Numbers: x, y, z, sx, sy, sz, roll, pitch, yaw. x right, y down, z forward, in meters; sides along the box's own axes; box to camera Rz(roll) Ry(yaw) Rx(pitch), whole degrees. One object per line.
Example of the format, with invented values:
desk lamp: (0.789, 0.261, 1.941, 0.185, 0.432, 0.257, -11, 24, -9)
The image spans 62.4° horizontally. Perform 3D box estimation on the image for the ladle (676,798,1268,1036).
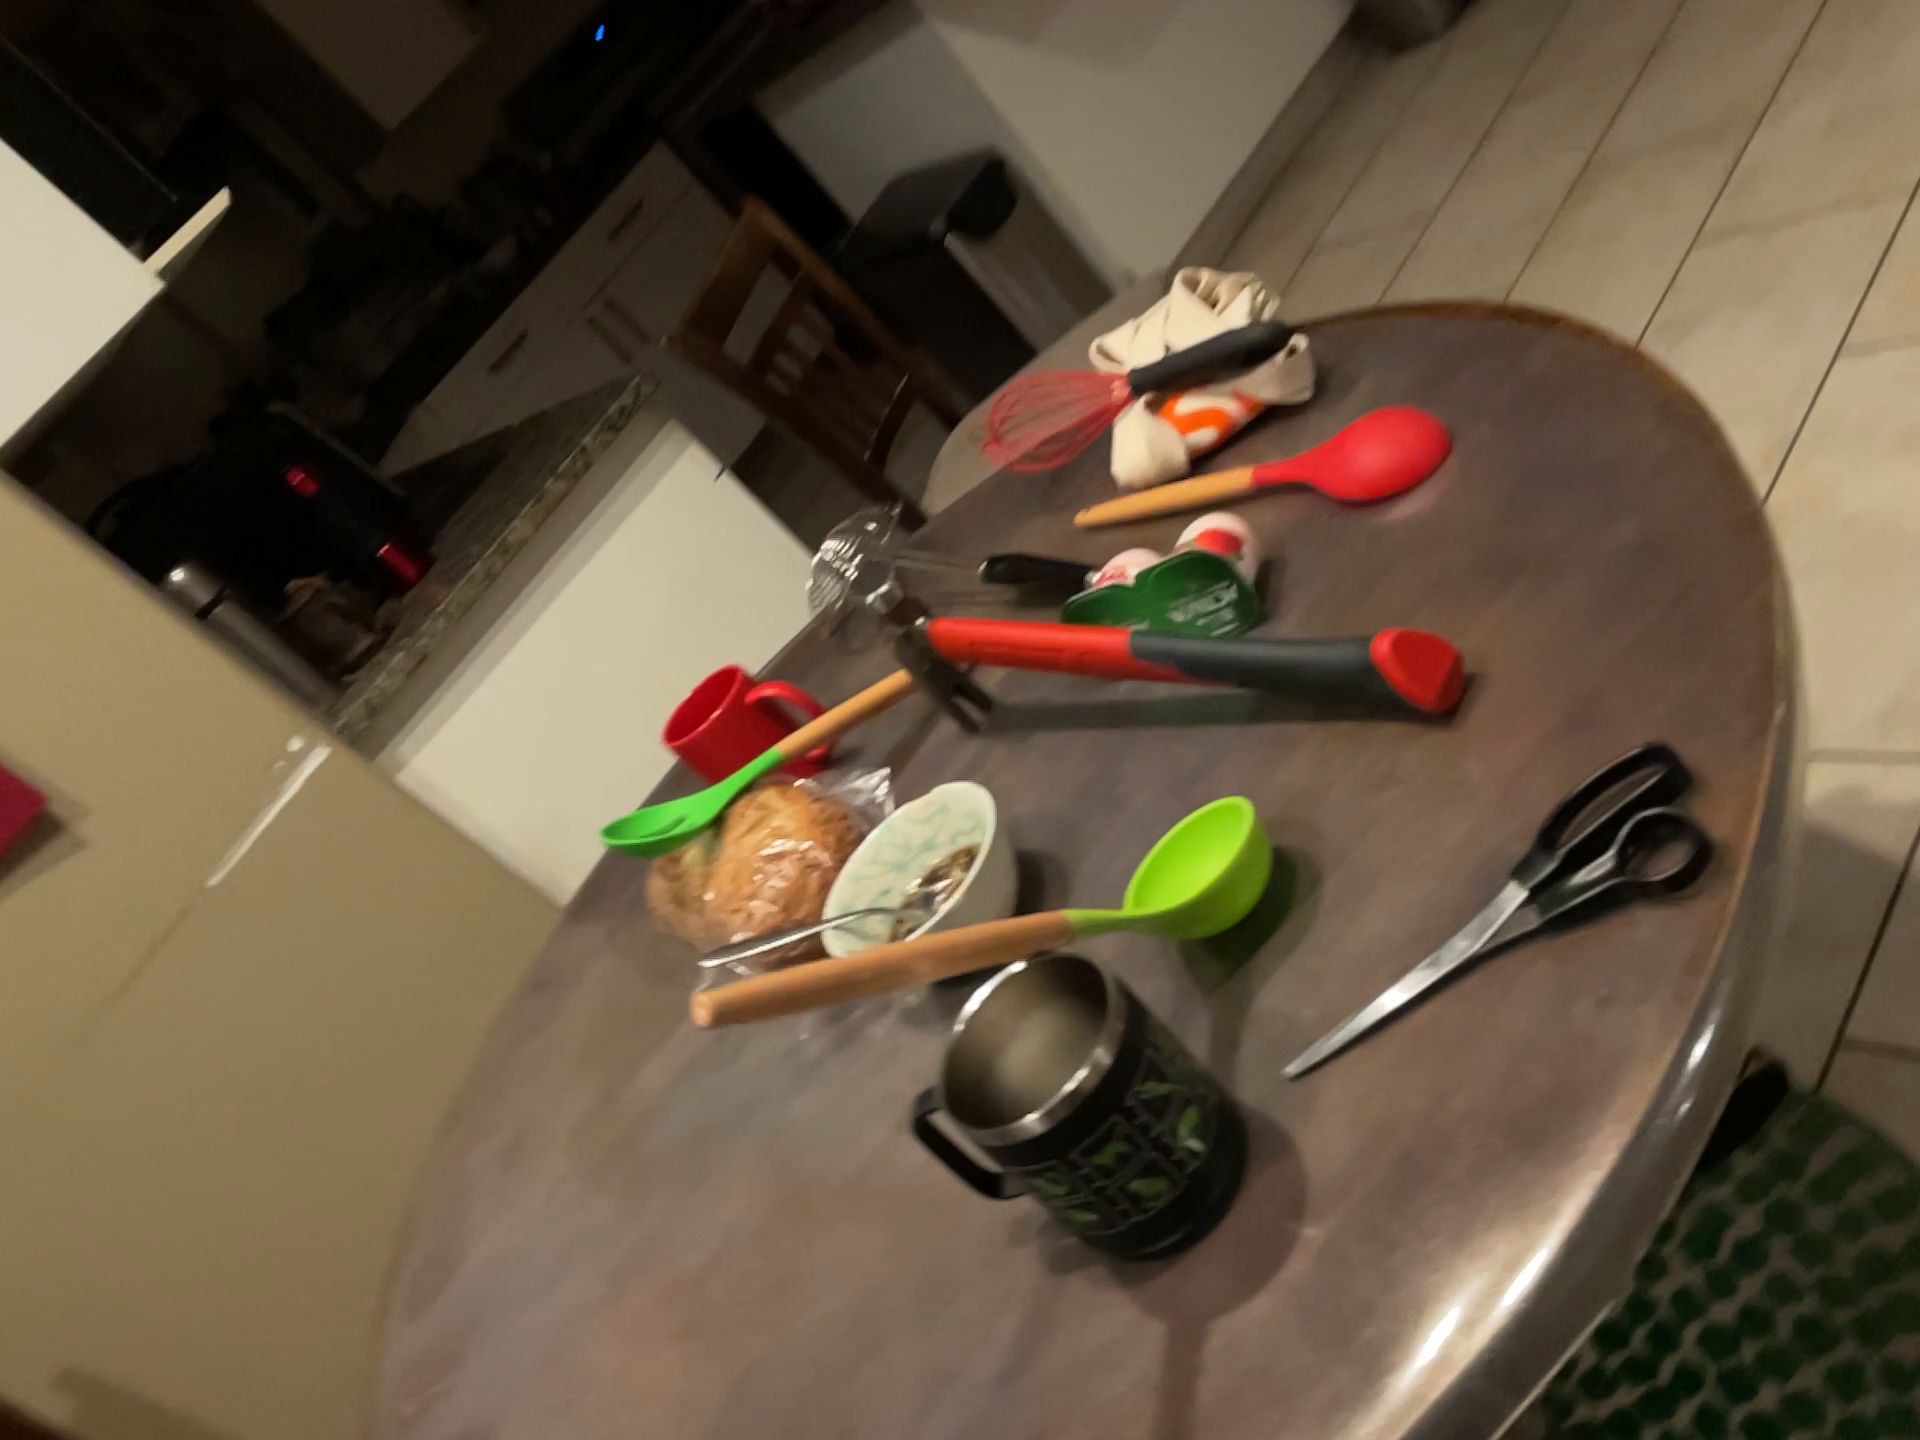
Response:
ladle: (0.018, 0.082, 0.665, 0.078, 0.320, 0.062, -34, 69, 45)

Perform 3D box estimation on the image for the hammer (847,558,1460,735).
hammer: (0.103, -0.026, 0.894, 0.387, 0.143, 0.038, 8, 58, 45)

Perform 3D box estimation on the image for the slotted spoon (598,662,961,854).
slotted spoon: (-0.099, 0.011, 1.069, 0.313, 0.031, 0.070, -31, 24, -24)

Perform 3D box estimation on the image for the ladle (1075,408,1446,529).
ladle: (0.176, -0.153, 1.027, 0.316, 0.031, 0.069, -5, 46, 56)

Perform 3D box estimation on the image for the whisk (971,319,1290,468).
whisk: (0.113, -0.234, 1.122, 0.296, 0.073, 0.073, -9, 42, 50)

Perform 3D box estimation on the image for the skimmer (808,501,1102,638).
skimmer: (0.002, -0.104, 1.204, 0.364, 0.090, 0.127, 15, 71, 49)
